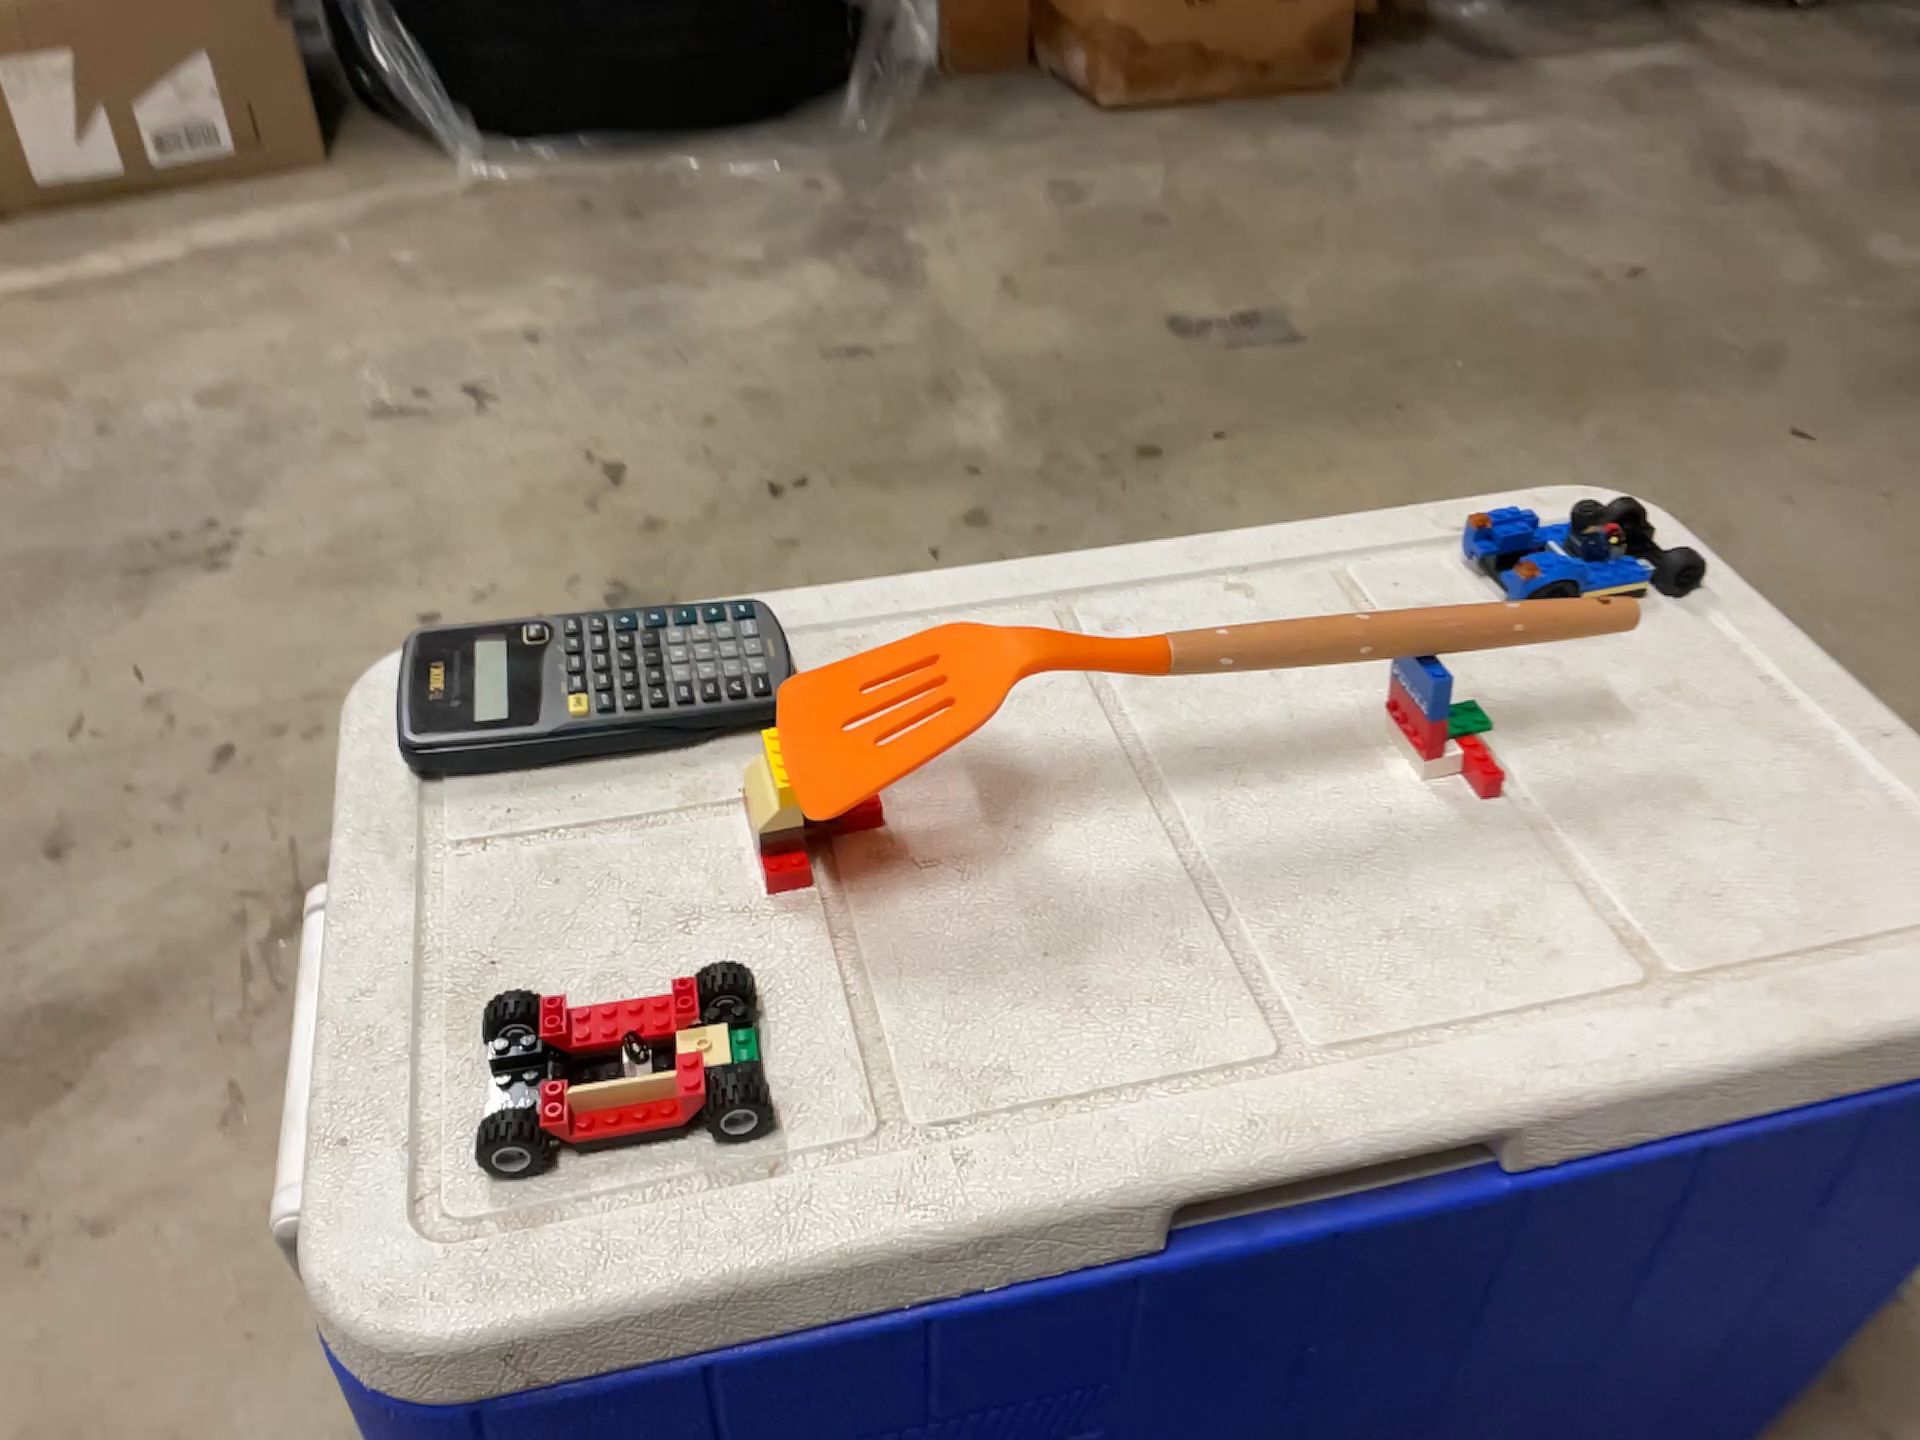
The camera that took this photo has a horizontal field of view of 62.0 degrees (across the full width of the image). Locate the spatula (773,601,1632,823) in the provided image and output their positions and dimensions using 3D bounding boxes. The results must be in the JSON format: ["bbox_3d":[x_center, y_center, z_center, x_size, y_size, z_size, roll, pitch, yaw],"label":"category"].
[{"bbox_3d":[0.095,-0.018,0.578,0.322,0.041,0.081,-5,38,-12],"label":"spatula"}]
